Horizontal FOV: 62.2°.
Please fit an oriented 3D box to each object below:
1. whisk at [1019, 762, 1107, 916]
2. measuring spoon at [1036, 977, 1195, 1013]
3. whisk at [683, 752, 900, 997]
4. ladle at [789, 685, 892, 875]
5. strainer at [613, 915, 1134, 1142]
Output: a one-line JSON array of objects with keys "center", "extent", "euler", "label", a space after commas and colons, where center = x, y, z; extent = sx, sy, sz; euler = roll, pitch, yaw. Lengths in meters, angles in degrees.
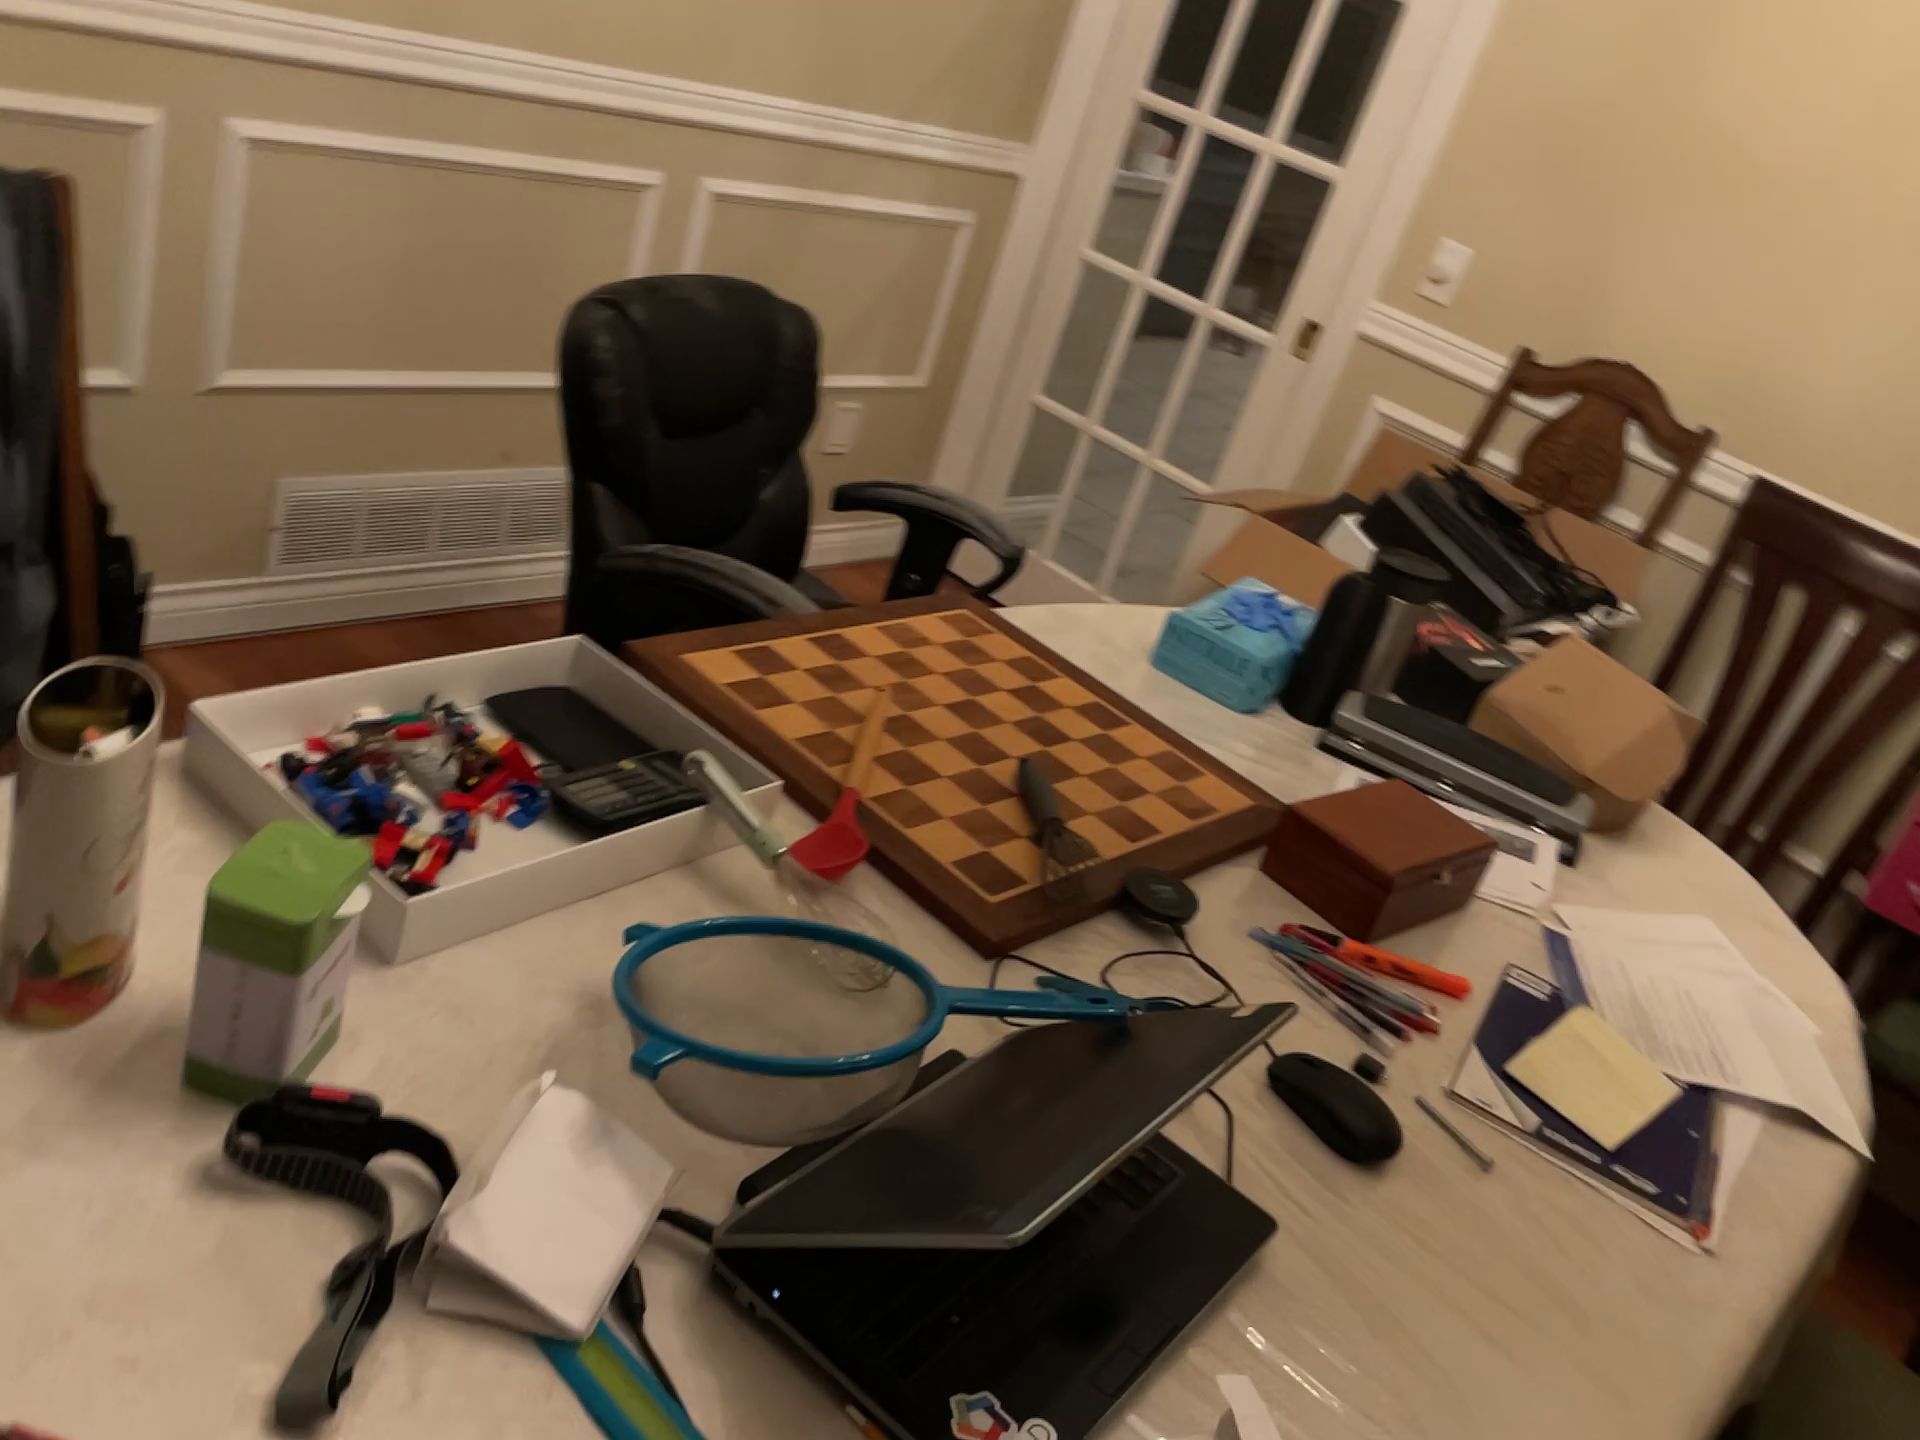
[{"center": [0.084, 0.097, 1.391], "extent": [0.055, 0.055, 0.239], "euler": [25, 18, -20], "label": "whisk"}, {"center": [0.120, 0.223, 1.231], "extent": [0.128, 0.021, 0.042], "euler": [12, 16, 12], "label": "measuring spoon"}, {"center": [-0.130, 0.112, 1.193], "extent": [0.246, 0.058, 0.059], "euler": [46, 4, 20], "label": "whisk"}, {"center": [-0.091, 0.047, 1.381], "extent": [0.069, 0.031, 0.315], "euler": [-1, 29, 9], "label": "ladle"}, {"center": [-0.055, 0.213, 1.025], "extent": [0.340, 0.095, 0.211], "euler": [6, 15, -15], "label": "strainer"}]
